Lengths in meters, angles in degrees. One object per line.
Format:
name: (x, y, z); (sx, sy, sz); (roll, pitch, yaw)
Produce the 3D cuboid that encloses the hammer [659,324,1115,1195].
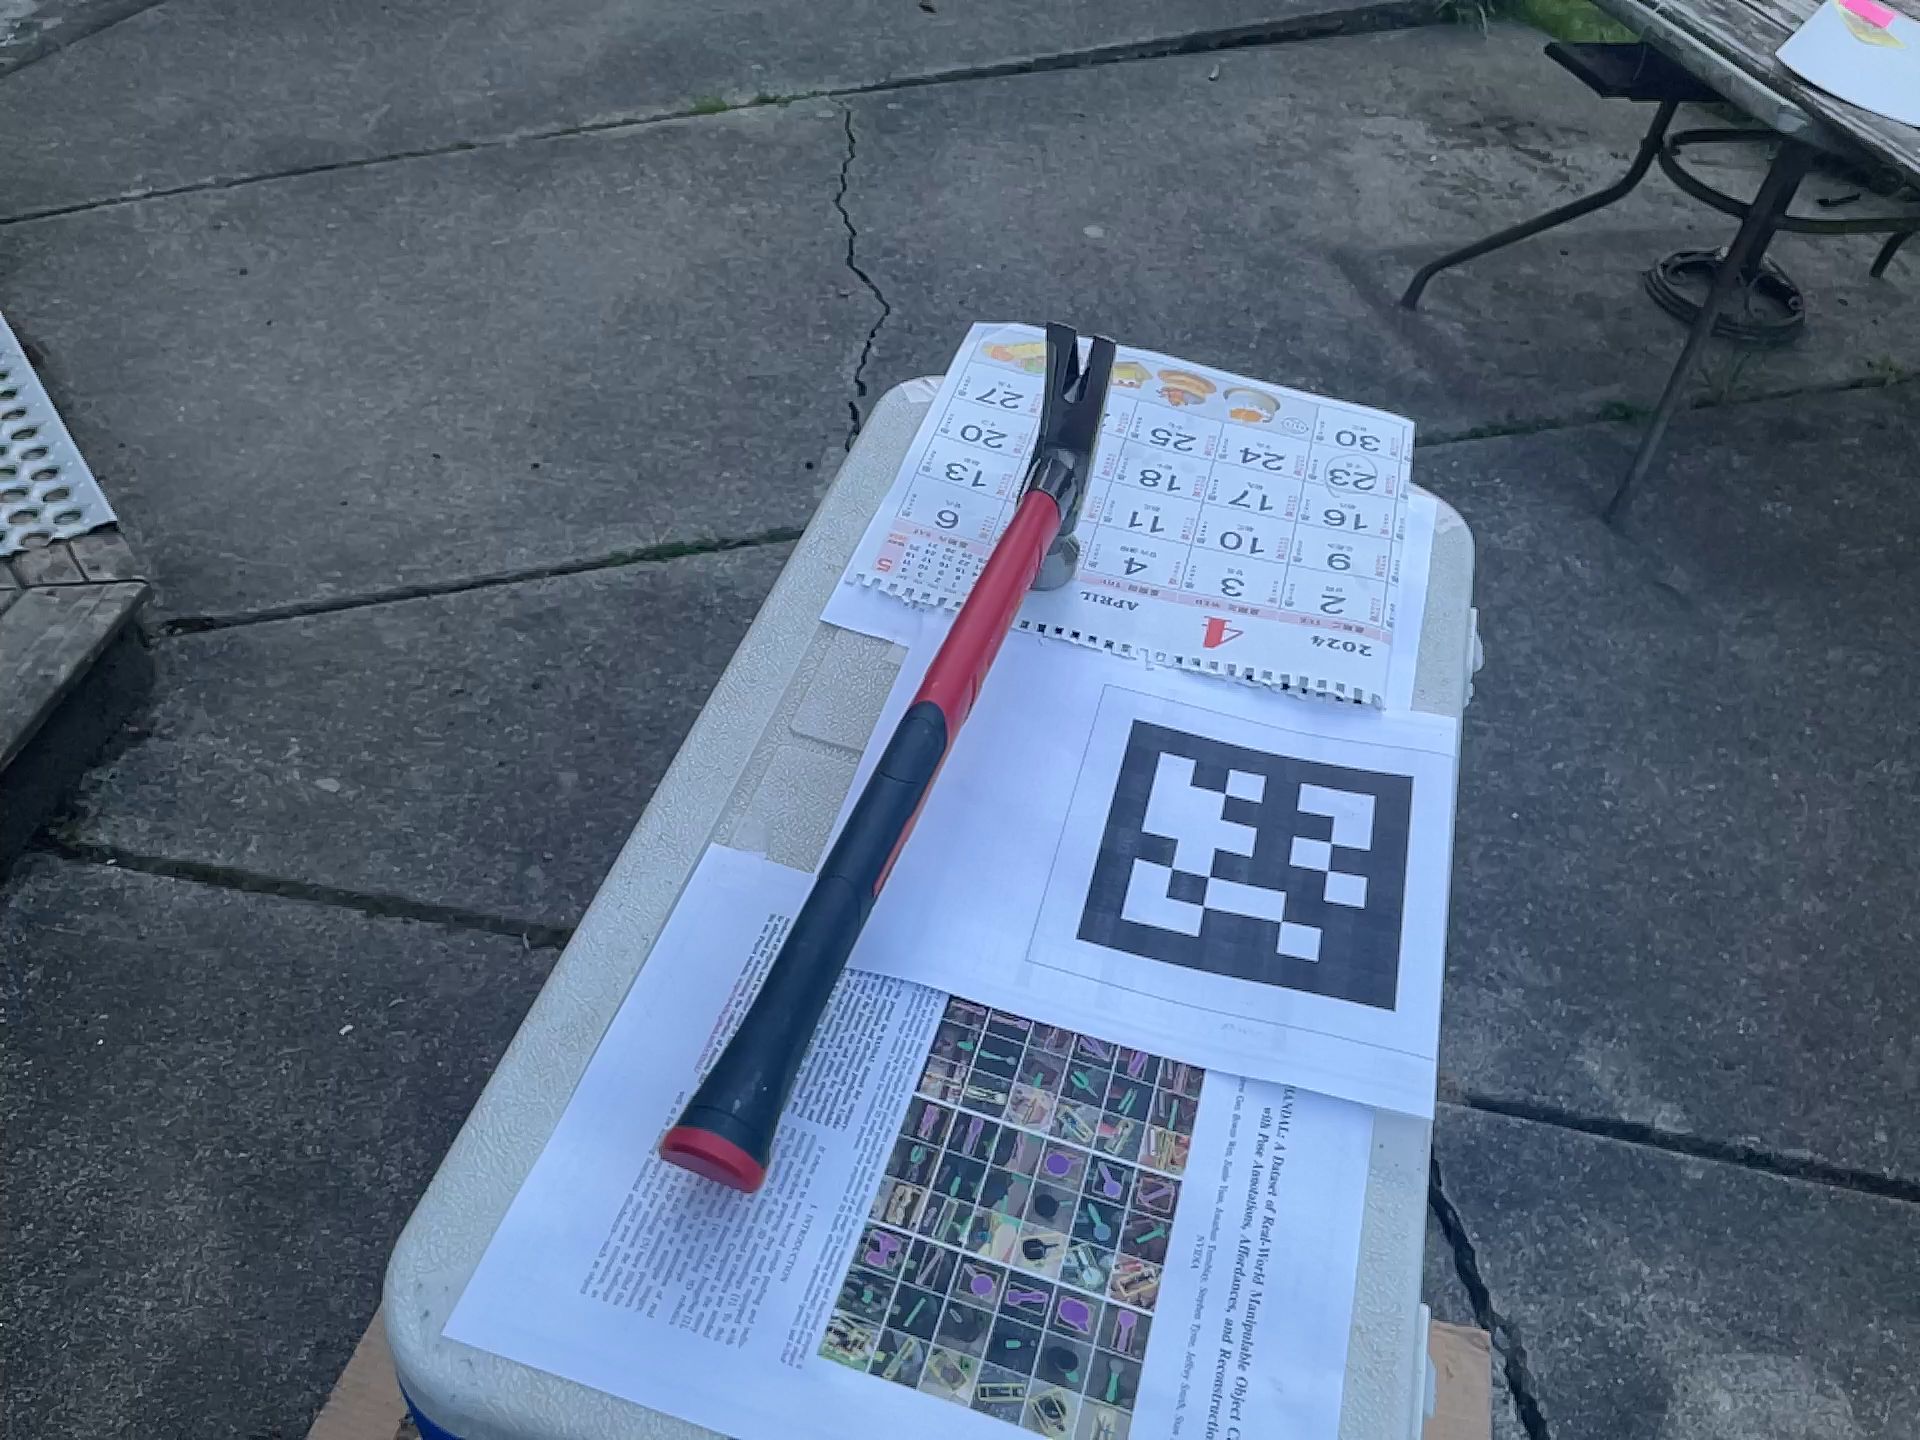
hammer: (-0.015, 0.003, 0.613); (0.038, 0.143, 0.387); (19, 51, 9)
